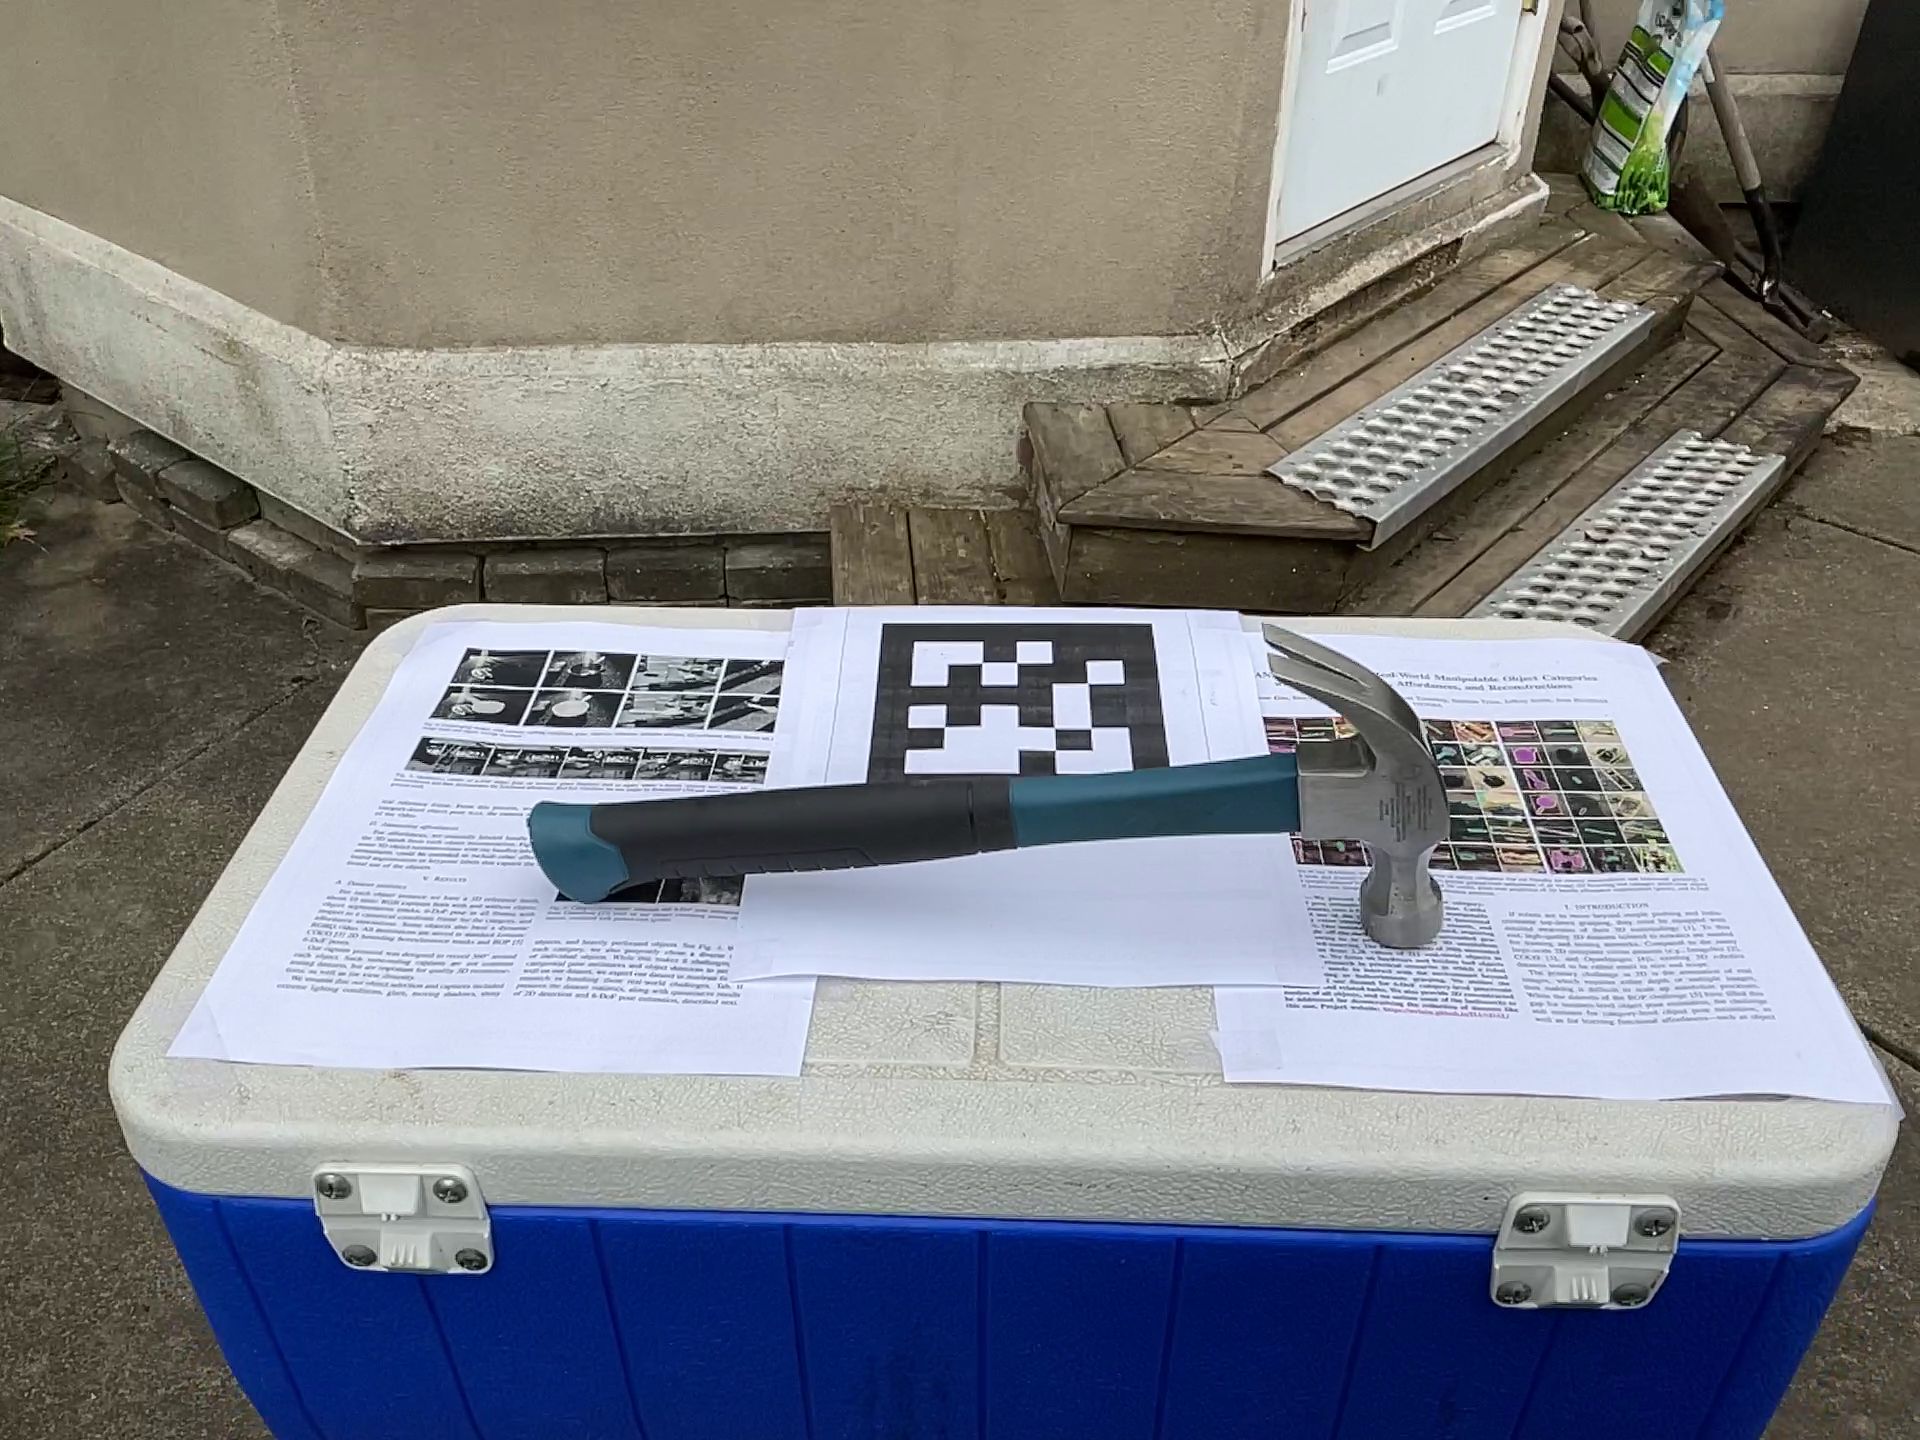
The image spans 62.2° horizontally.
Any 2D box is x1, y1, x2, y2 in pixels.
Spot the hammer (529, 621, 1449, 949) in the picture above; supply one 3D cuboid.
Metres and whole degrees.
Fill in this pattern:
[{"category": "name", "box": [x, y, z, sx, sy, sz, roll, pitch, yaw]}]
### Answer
[{"category": "hammer", "box": [0.007, 0.037, 0.580, 0.331, 0.128, 0.033, -5, 33, 7]}]
